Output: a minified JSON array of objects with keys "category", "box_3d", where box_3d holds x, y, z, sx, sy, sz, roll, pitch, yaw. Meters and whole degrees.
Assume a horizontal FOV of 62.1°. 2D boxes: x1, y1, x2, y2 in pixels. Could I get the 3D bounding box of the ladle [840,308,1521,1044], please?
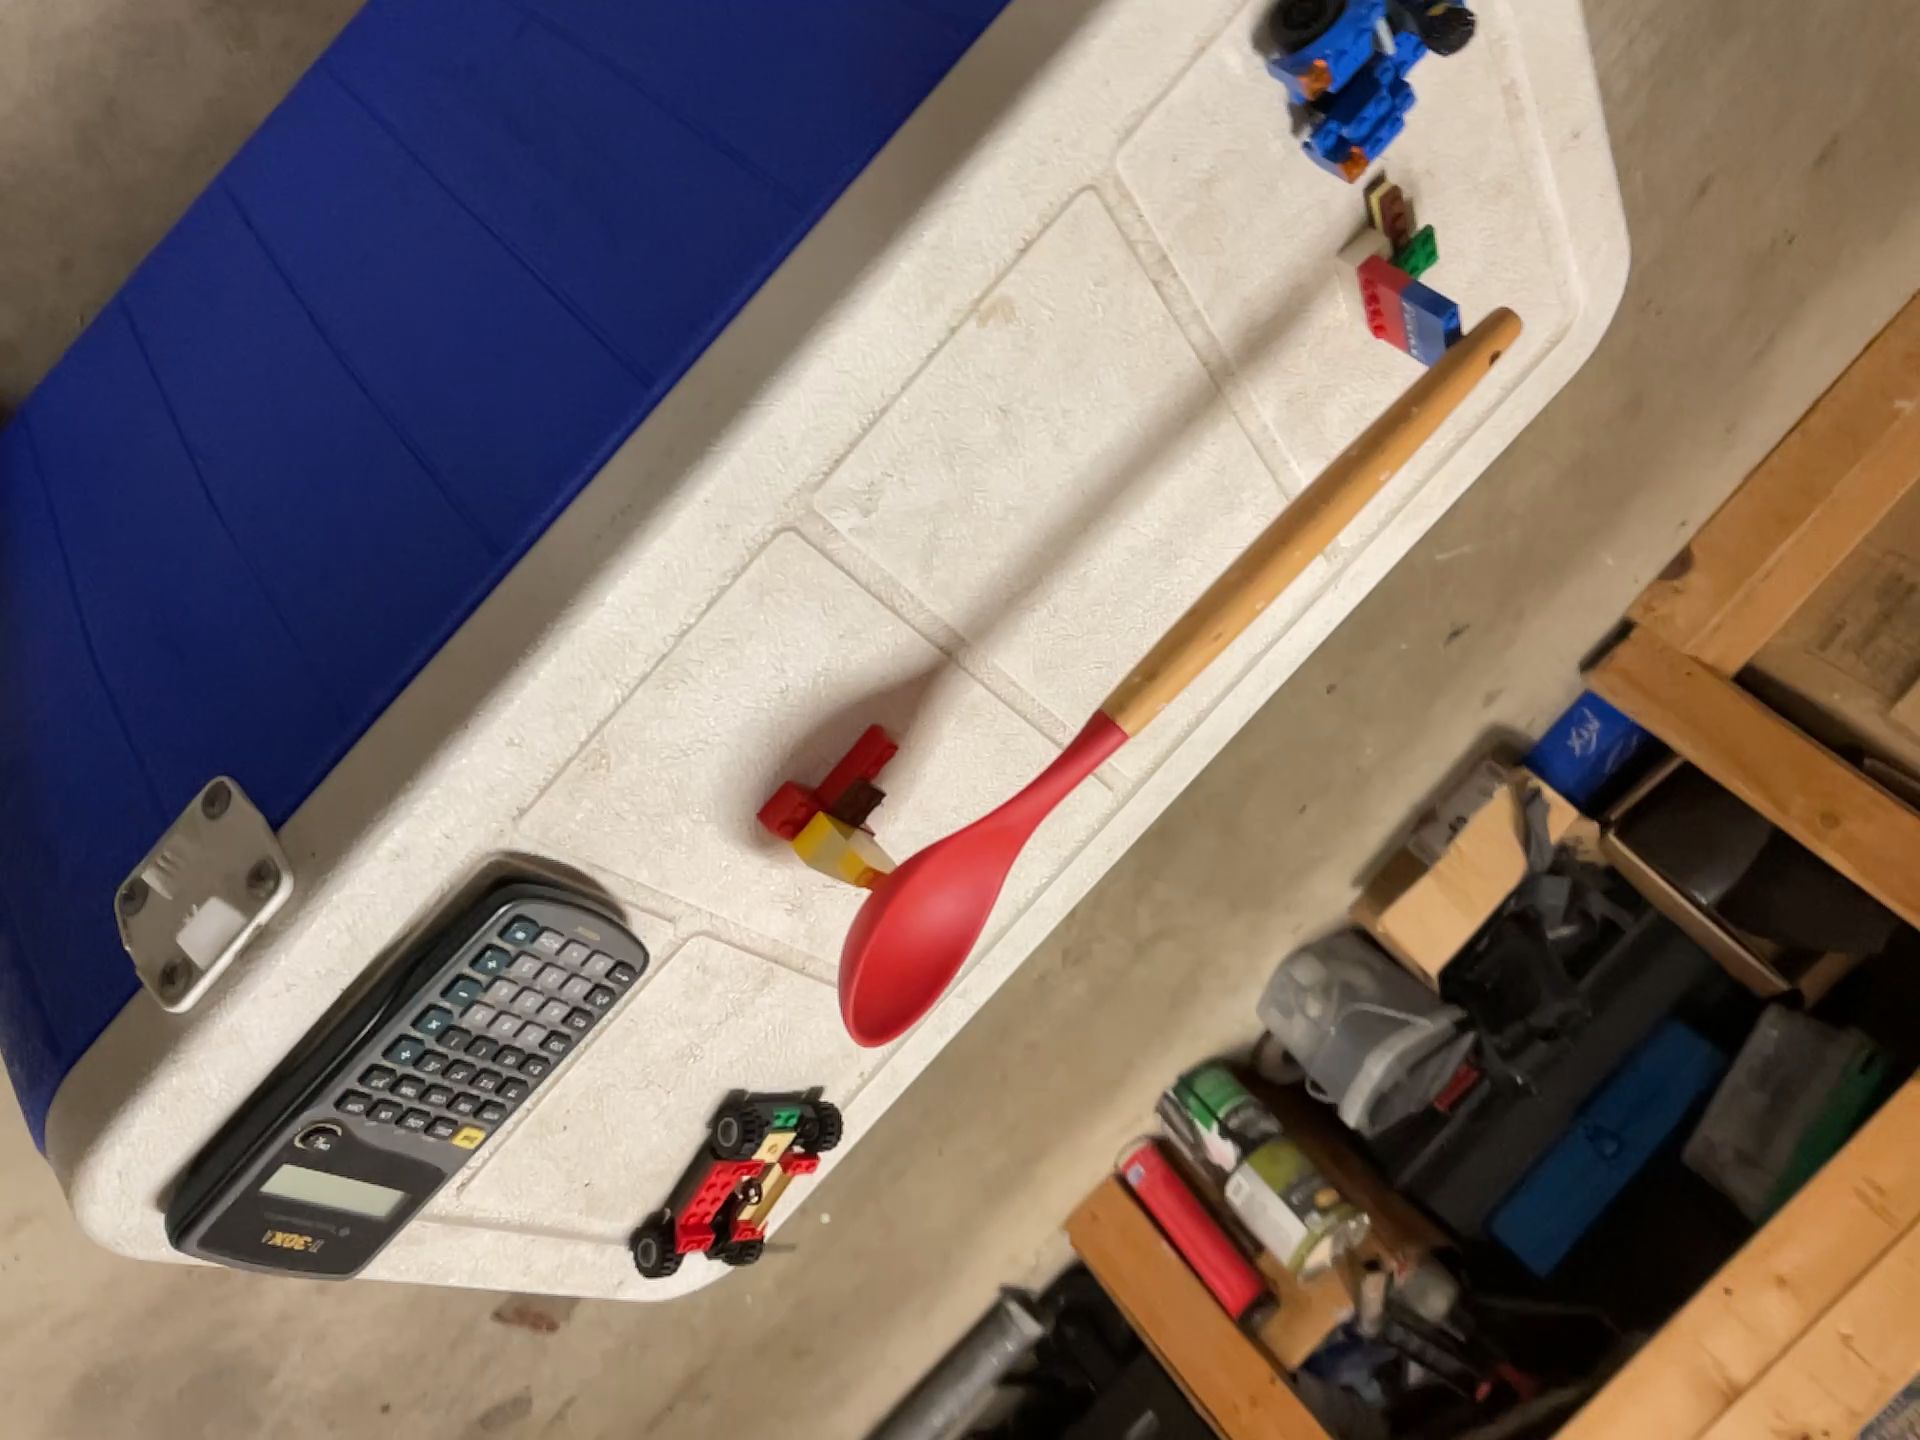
[{"category":"ladle","box_3d":[0.070,-0.018,0.521,0.315,0.031,0.069,-46,150,0]}]
